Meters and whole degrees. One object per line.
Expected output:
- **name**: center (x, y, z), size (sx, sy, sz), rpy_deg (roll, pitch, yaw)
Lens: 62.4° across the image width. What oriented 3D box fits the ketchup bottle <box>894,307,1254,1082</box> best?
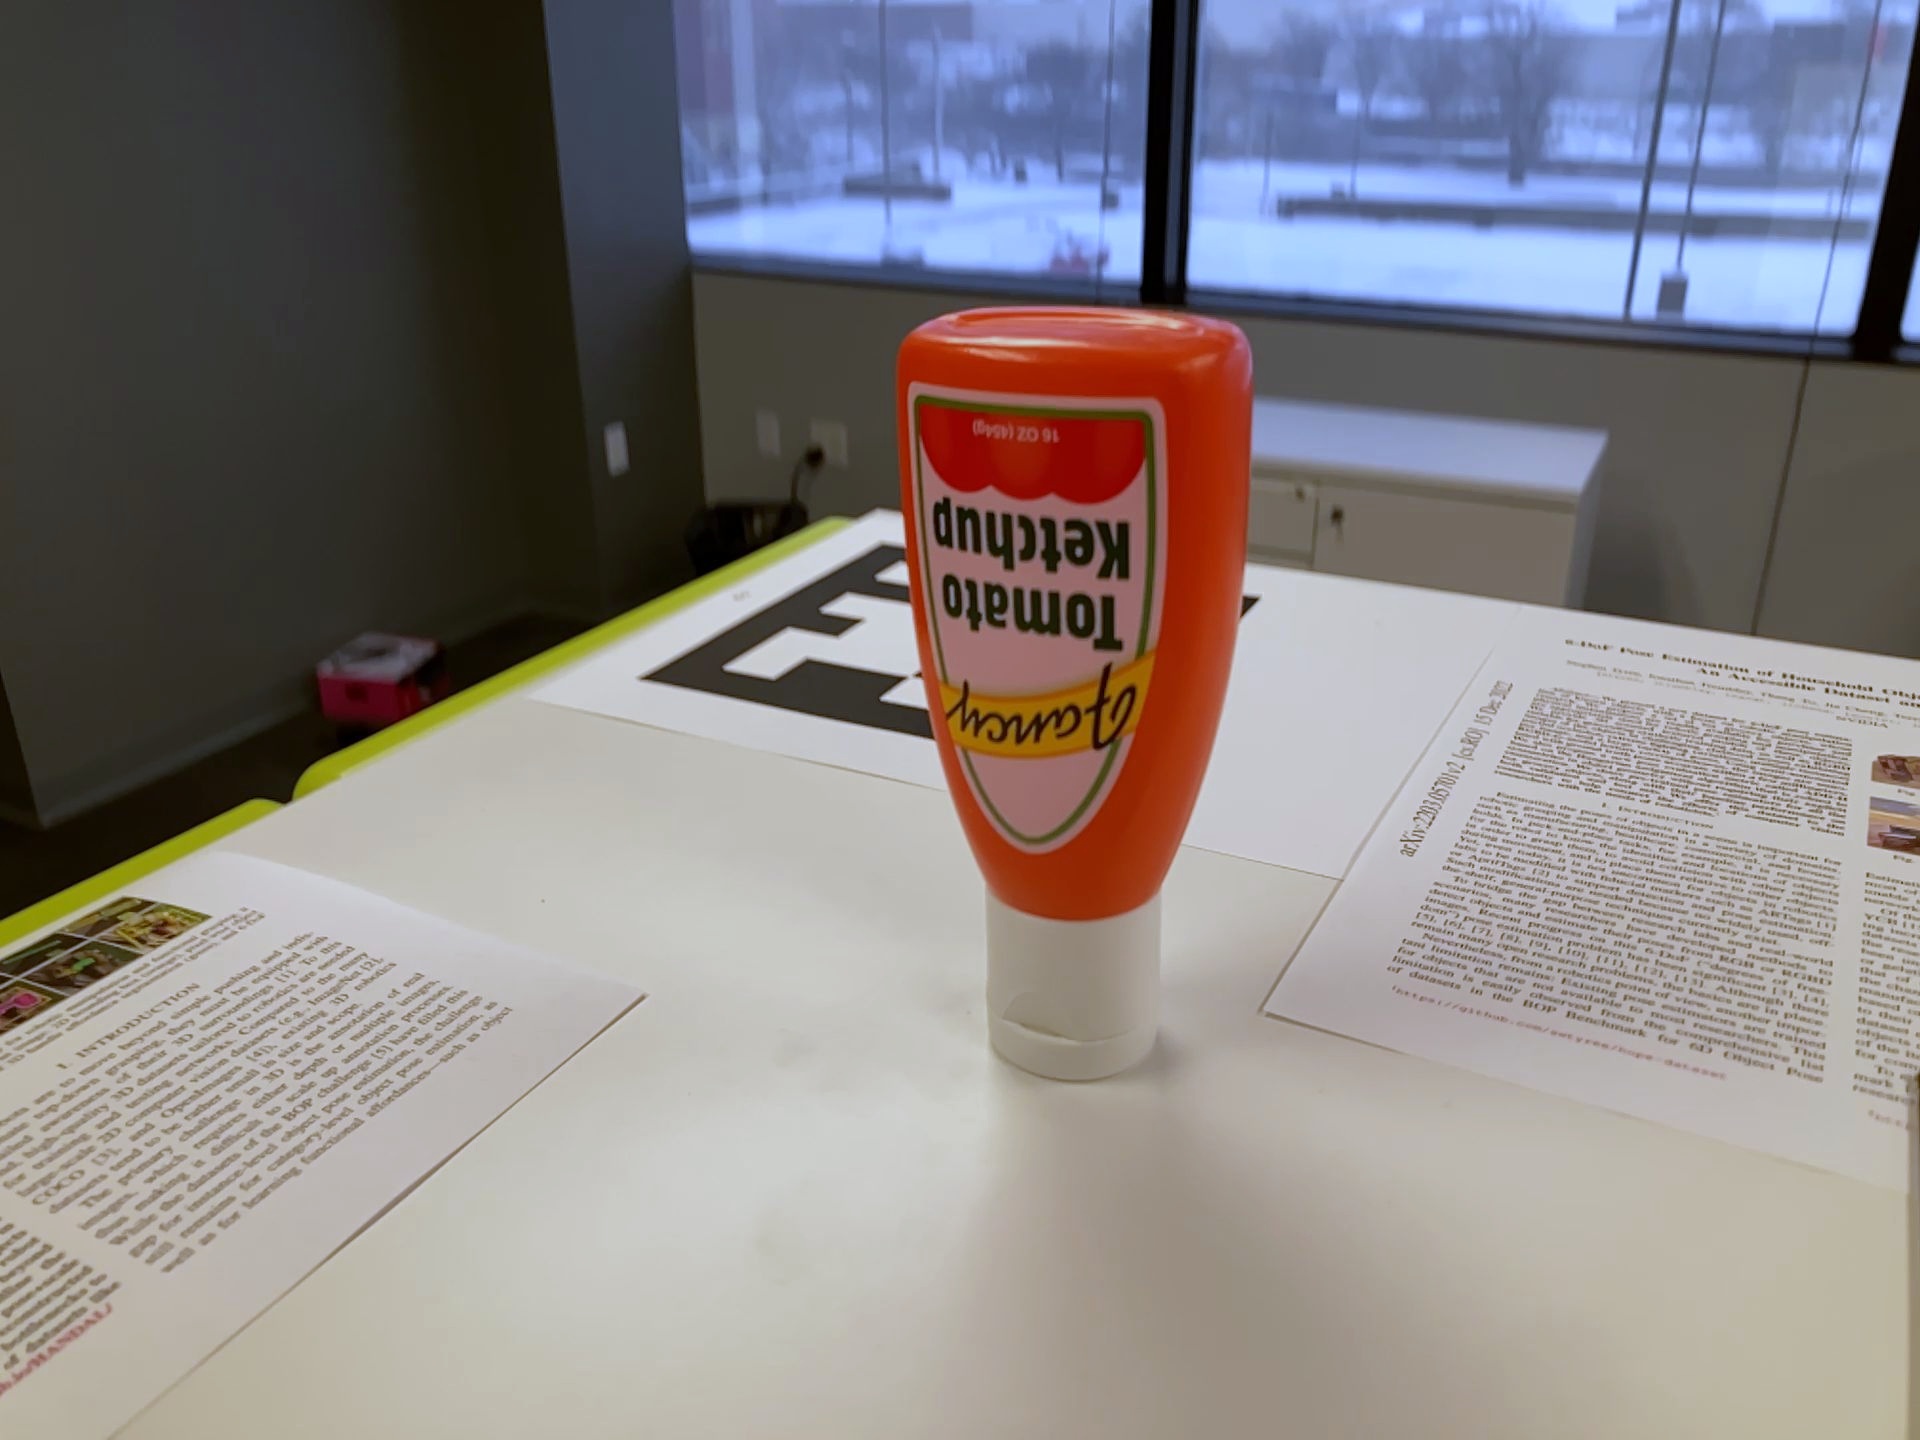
- **ketchup bottle**: center (0.022, -0.002, 0.306), size (0.065, 0.149, 0.043), rpy_deg (11, 27, 27)
